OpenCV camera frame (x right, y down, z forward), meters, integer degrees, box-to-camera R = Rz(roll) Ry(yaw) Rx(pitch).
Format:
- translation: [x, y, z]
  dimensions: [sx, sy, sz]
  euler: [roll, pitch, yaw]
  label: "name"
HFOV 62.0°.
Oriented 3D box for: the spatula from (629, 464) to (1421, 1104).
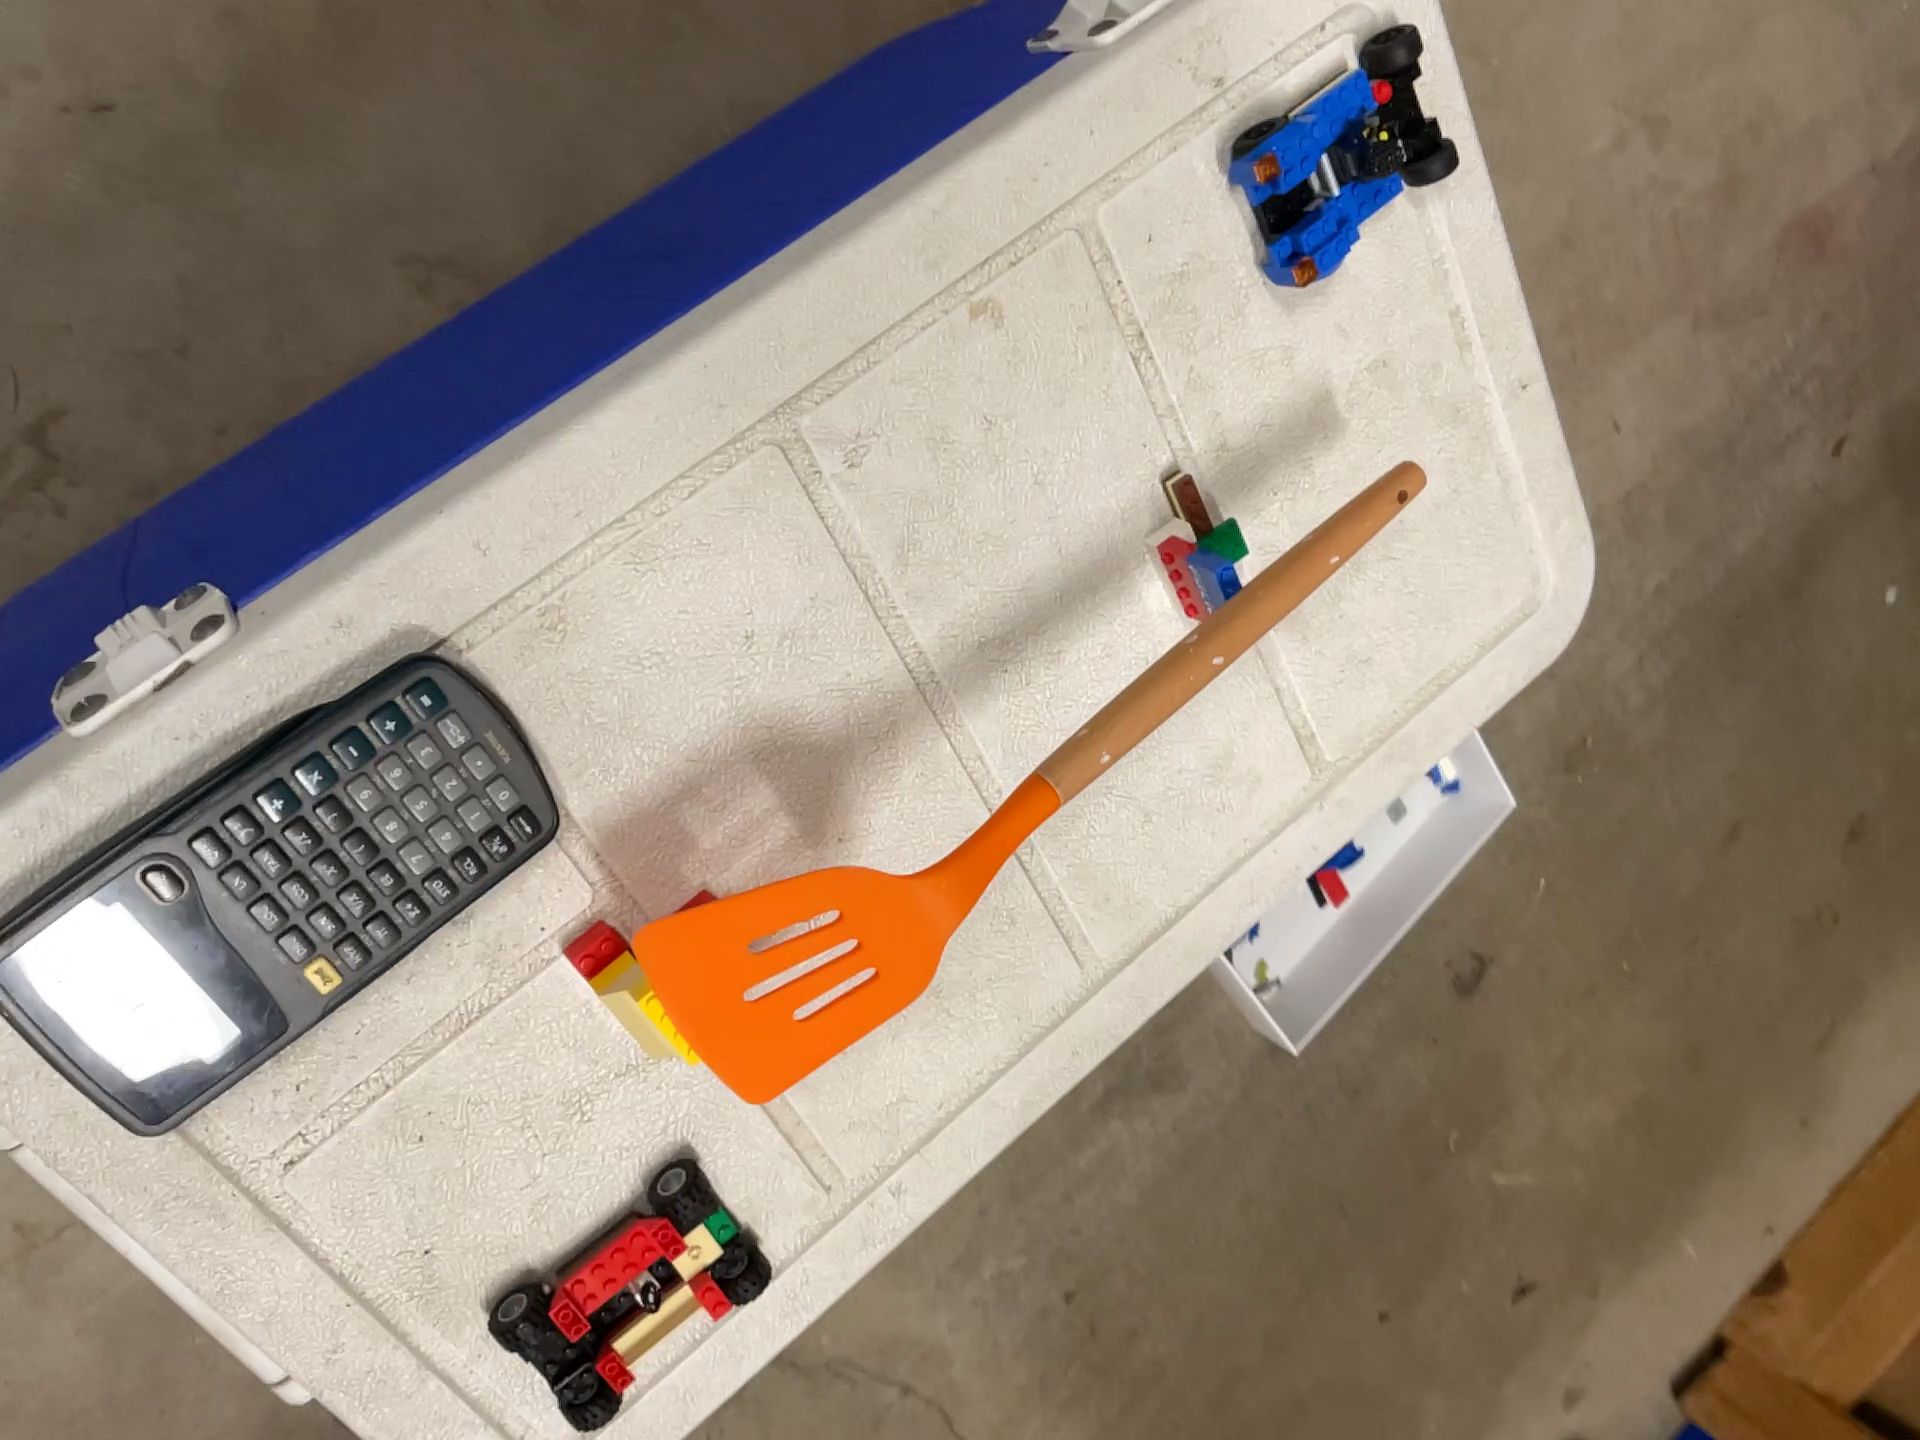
- translation: [0.040, 0.006, 0.538]
  dimensions: [0.323, 0.041, 0.081]
  euler: [-39, 121, -18]
  label: "spatula"
